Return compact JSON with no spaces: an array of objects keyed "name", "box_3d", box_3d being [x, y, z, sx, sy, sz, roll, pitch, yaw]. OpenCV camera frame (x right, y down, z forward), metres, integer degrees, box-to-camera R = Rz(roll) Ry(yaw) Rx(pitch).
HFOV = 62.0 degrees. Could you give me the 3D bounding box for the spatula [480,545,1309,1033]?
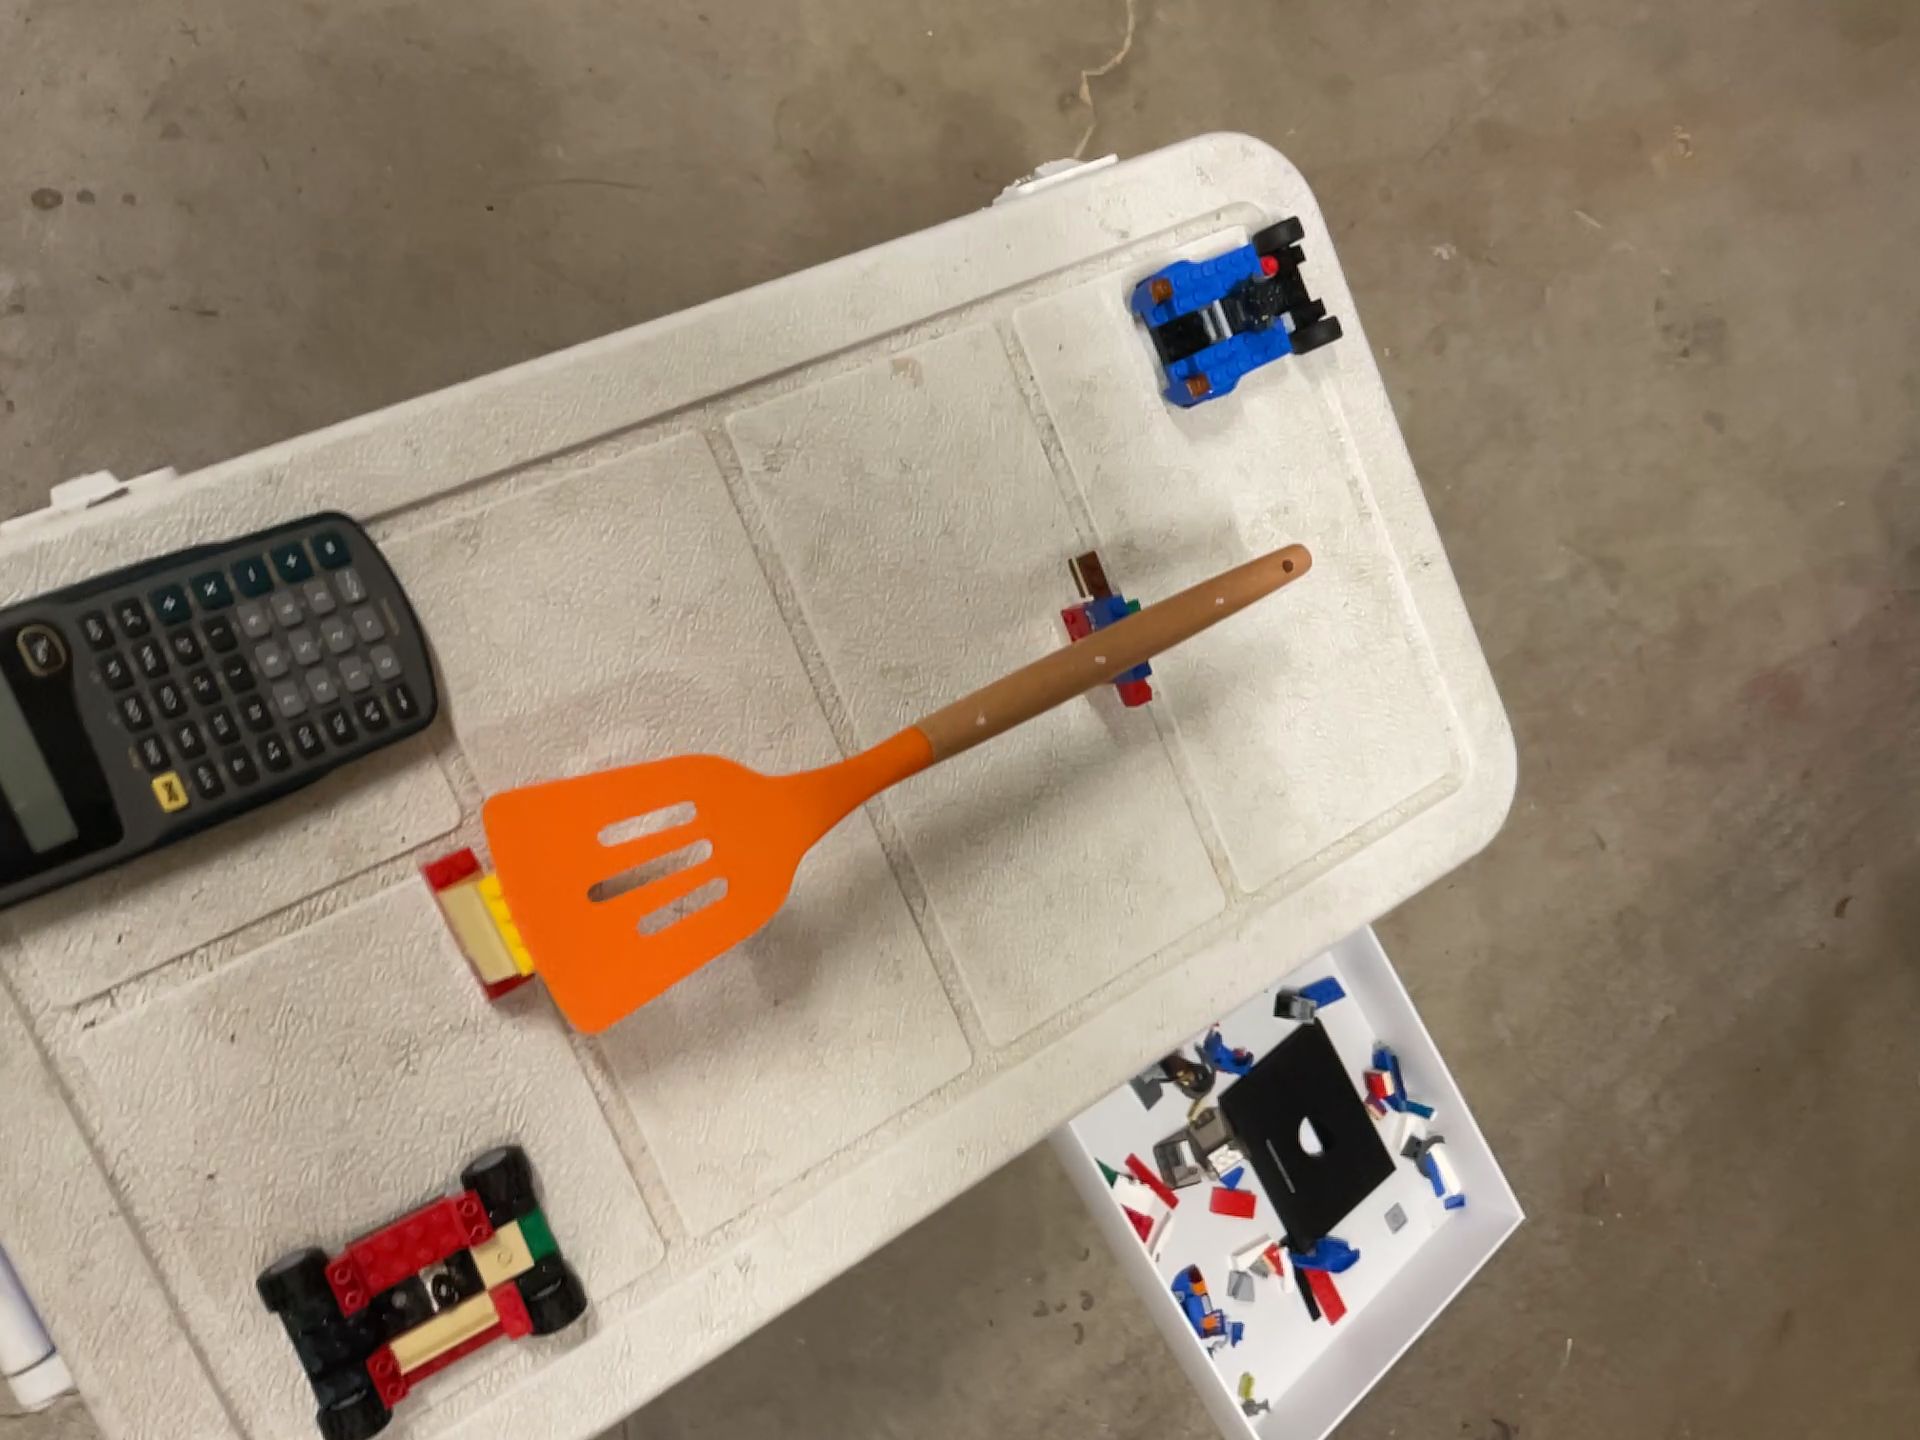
[{"name":"spatula","box_3d":[0.000,0.000,0.550,0.323,0.041,0.081,-26,97,-29]}]
